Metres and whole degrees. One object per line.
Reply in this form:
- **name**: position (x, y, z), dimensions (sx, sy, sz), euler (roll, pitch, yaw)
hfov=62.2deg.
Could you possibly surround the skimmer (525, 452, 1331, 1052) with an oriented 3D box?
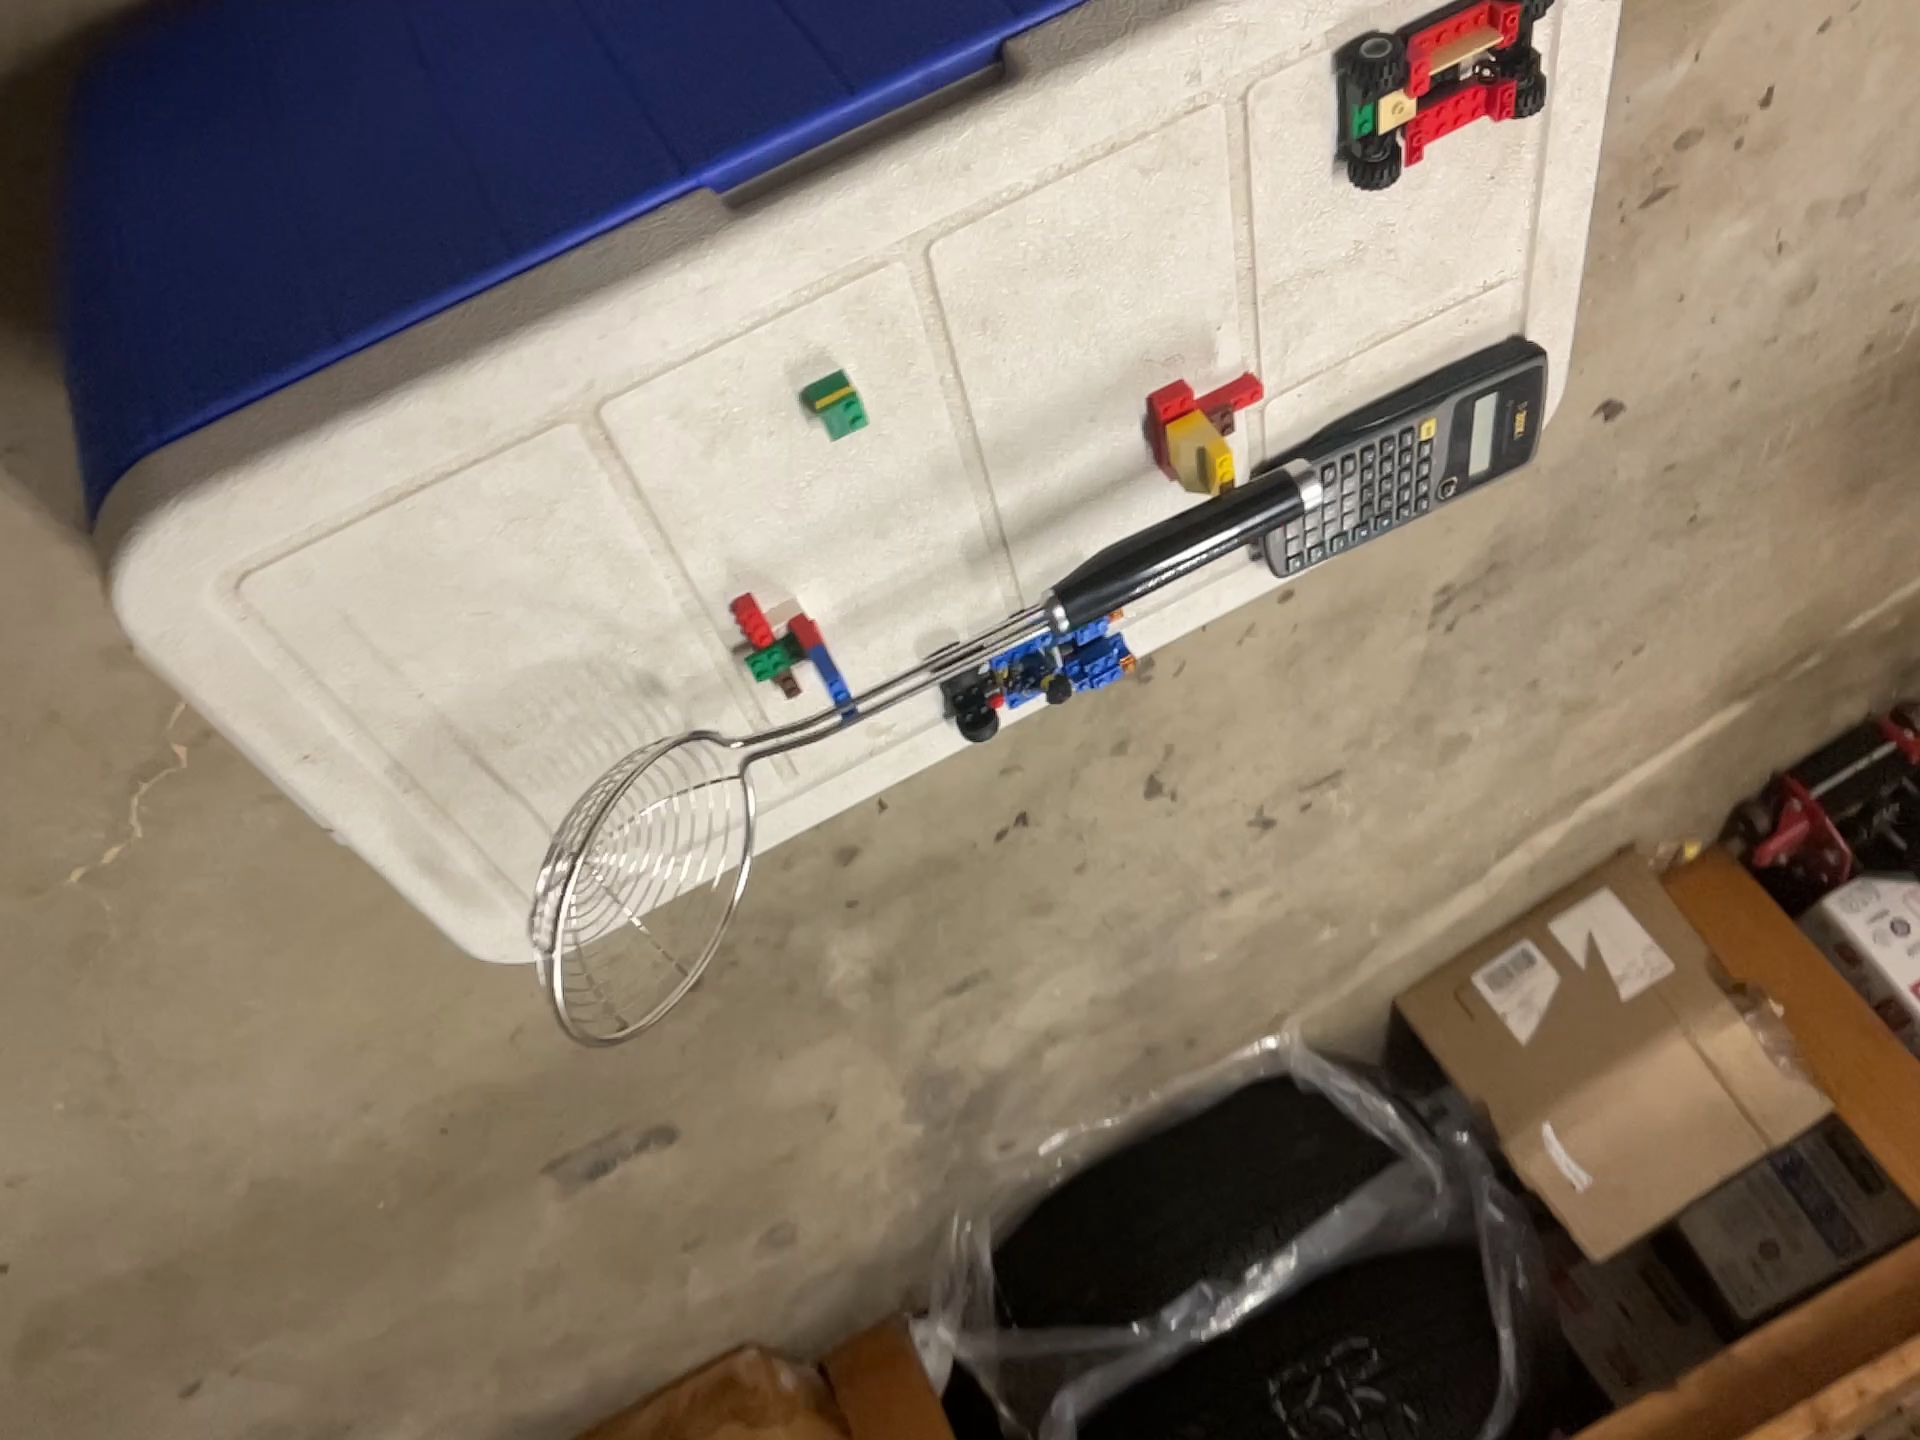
- **skimmer**: position (-0.002, 0.005, 0.623), dimensions (0.363, 0.090, 0.127), euler (-27, 147, -4)
